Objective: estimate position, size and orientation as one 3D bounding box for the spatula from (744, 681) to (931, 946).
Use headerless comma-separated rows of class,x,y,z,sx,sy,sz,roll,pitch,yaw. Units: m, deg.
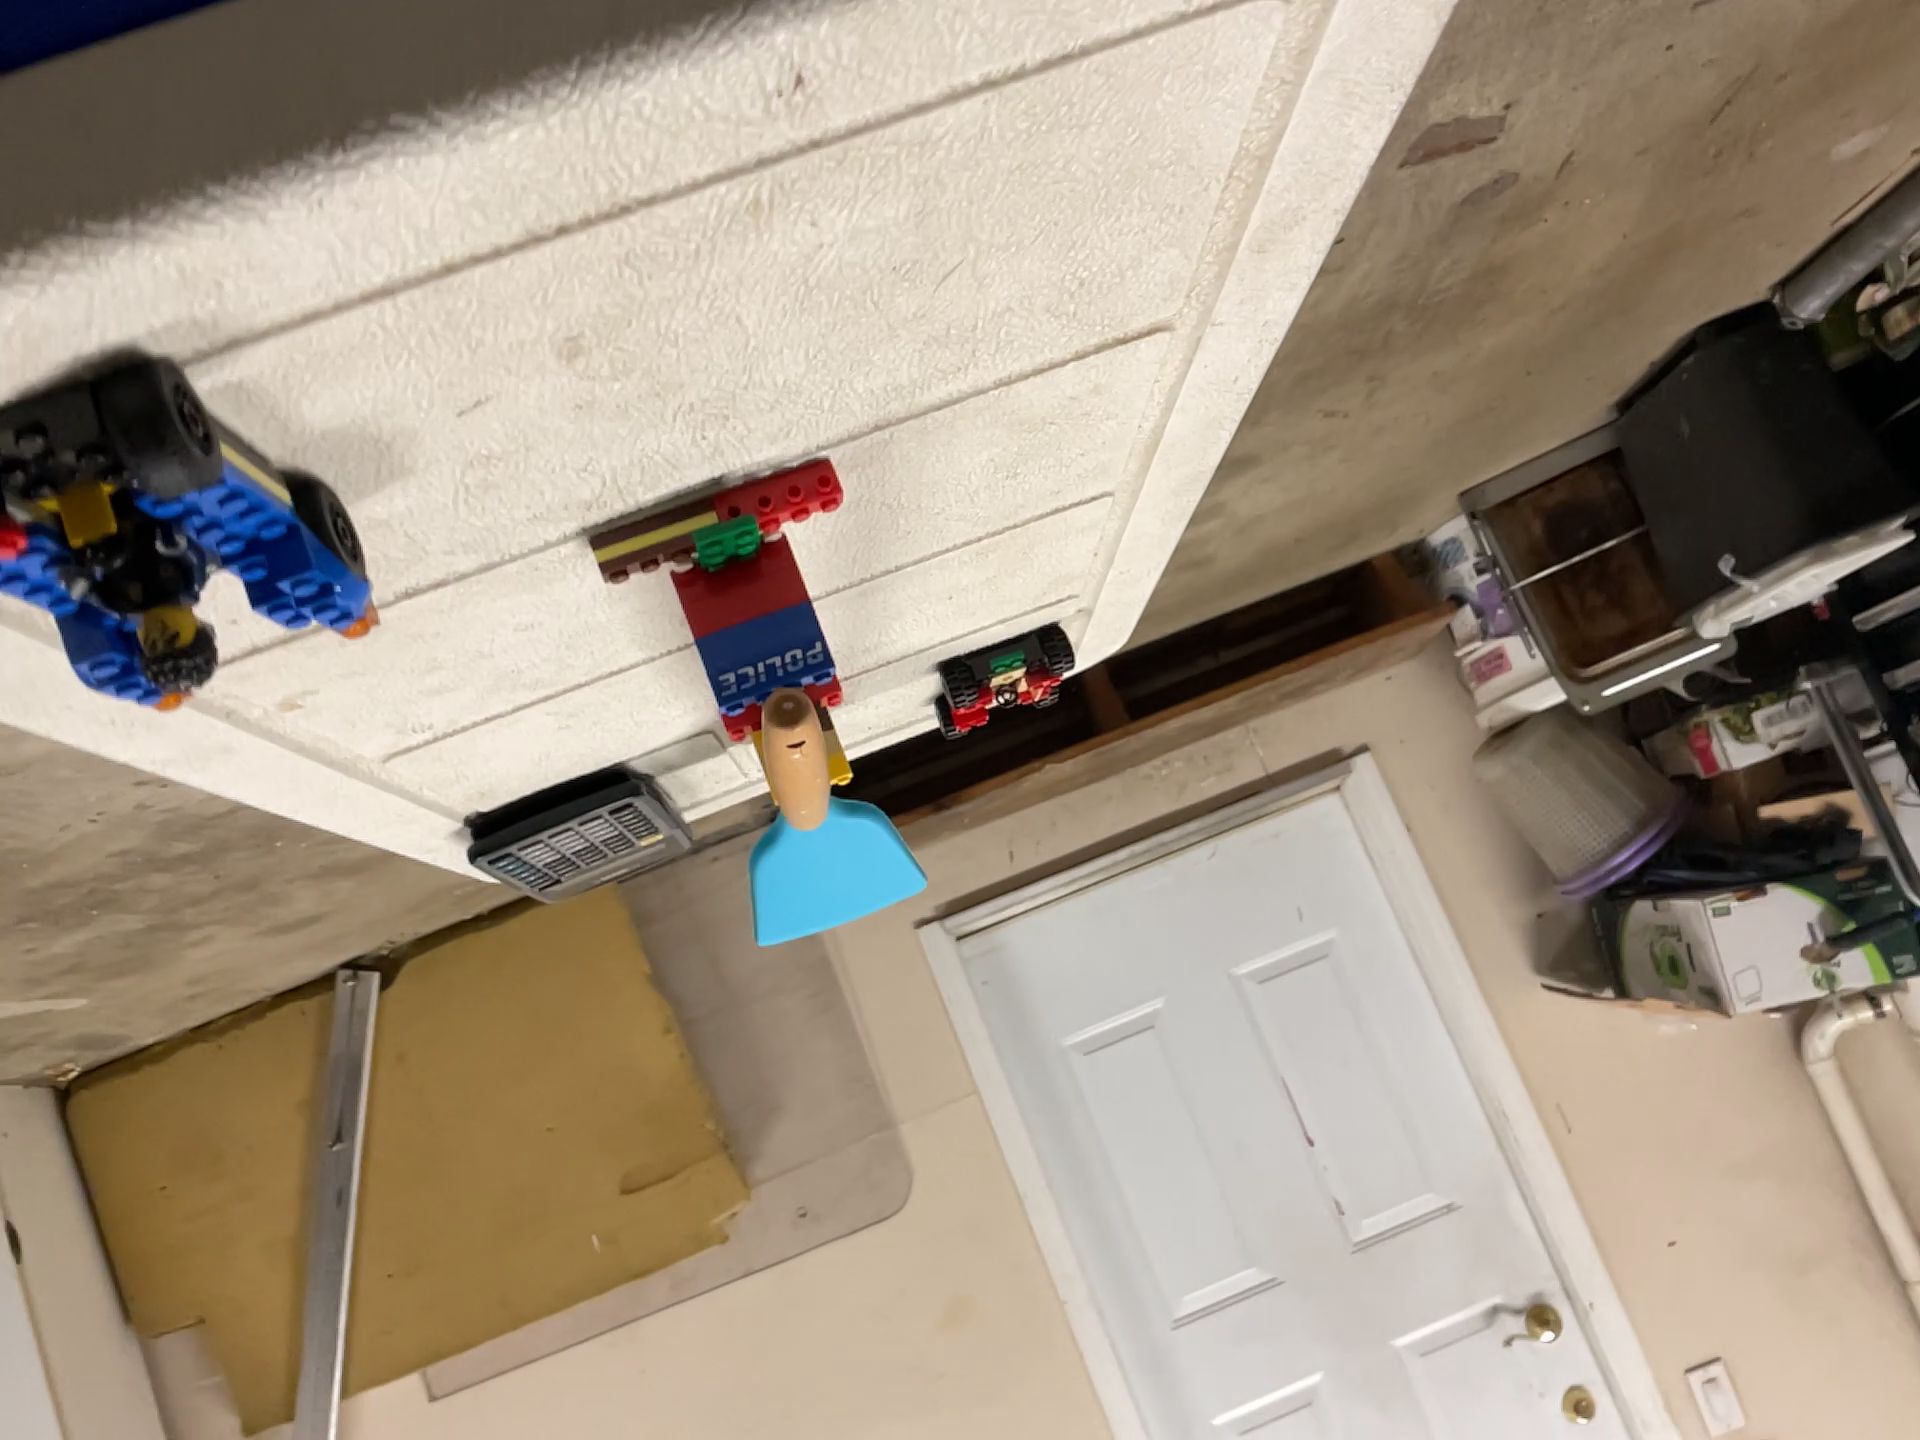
spatula,-0.049,0.036,0.547,0.082,0.044,0.317,-18,170,-7
